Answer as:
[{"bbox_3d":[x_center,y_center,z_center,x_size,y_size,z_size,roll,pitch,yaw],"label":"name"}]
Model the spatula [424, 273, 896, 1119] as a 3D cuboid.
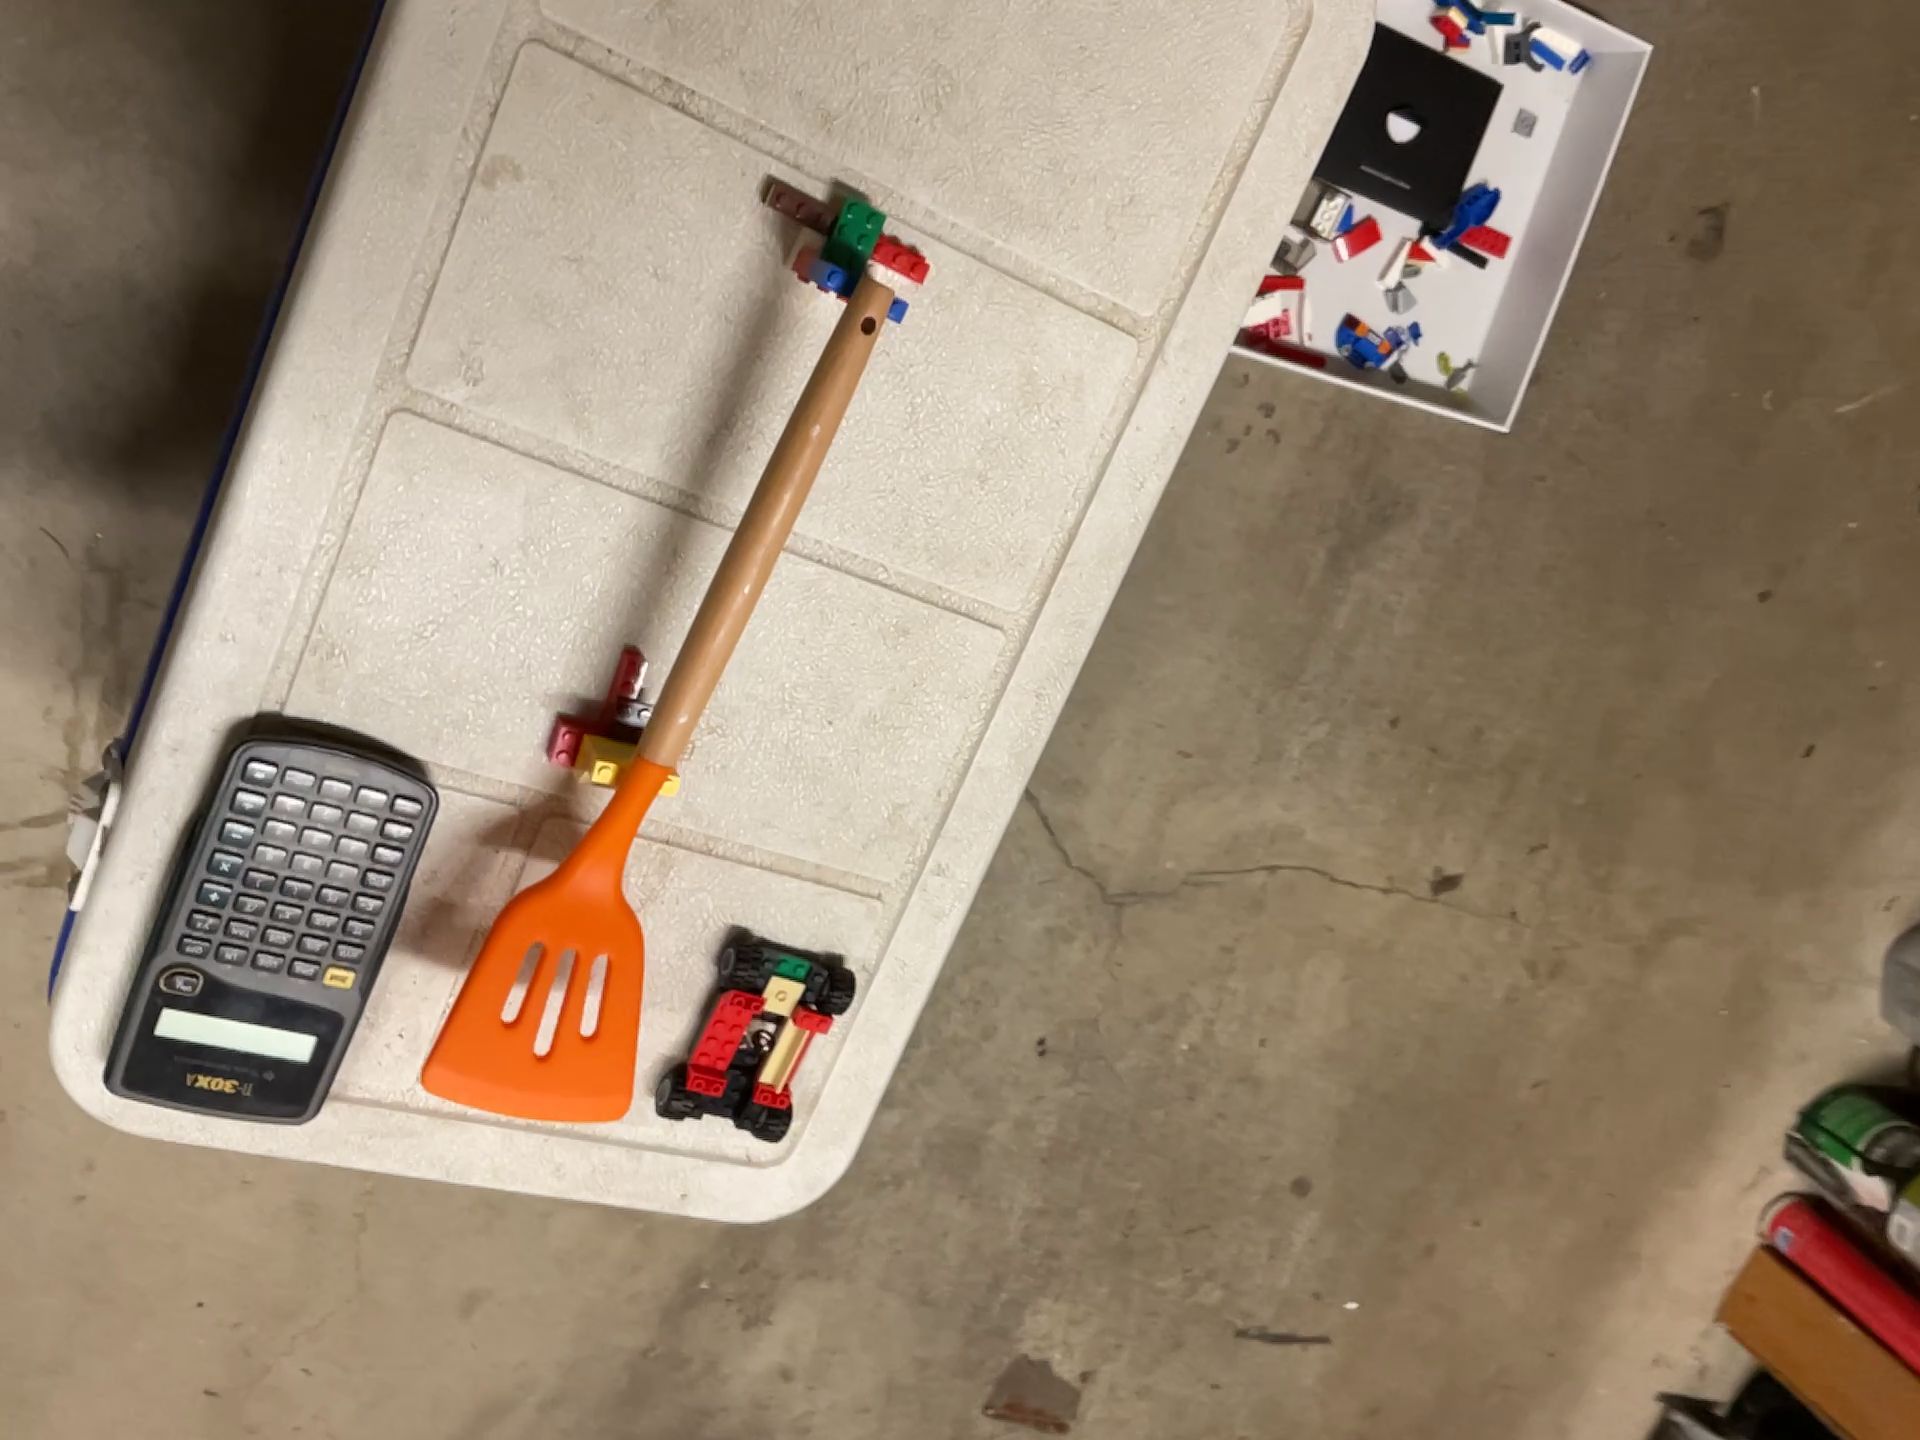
[{"bbox_3d":[-0.095,-0.005,0.565,0.081,0.041,0.322,20,104,-31],"label":"spatula"}]
